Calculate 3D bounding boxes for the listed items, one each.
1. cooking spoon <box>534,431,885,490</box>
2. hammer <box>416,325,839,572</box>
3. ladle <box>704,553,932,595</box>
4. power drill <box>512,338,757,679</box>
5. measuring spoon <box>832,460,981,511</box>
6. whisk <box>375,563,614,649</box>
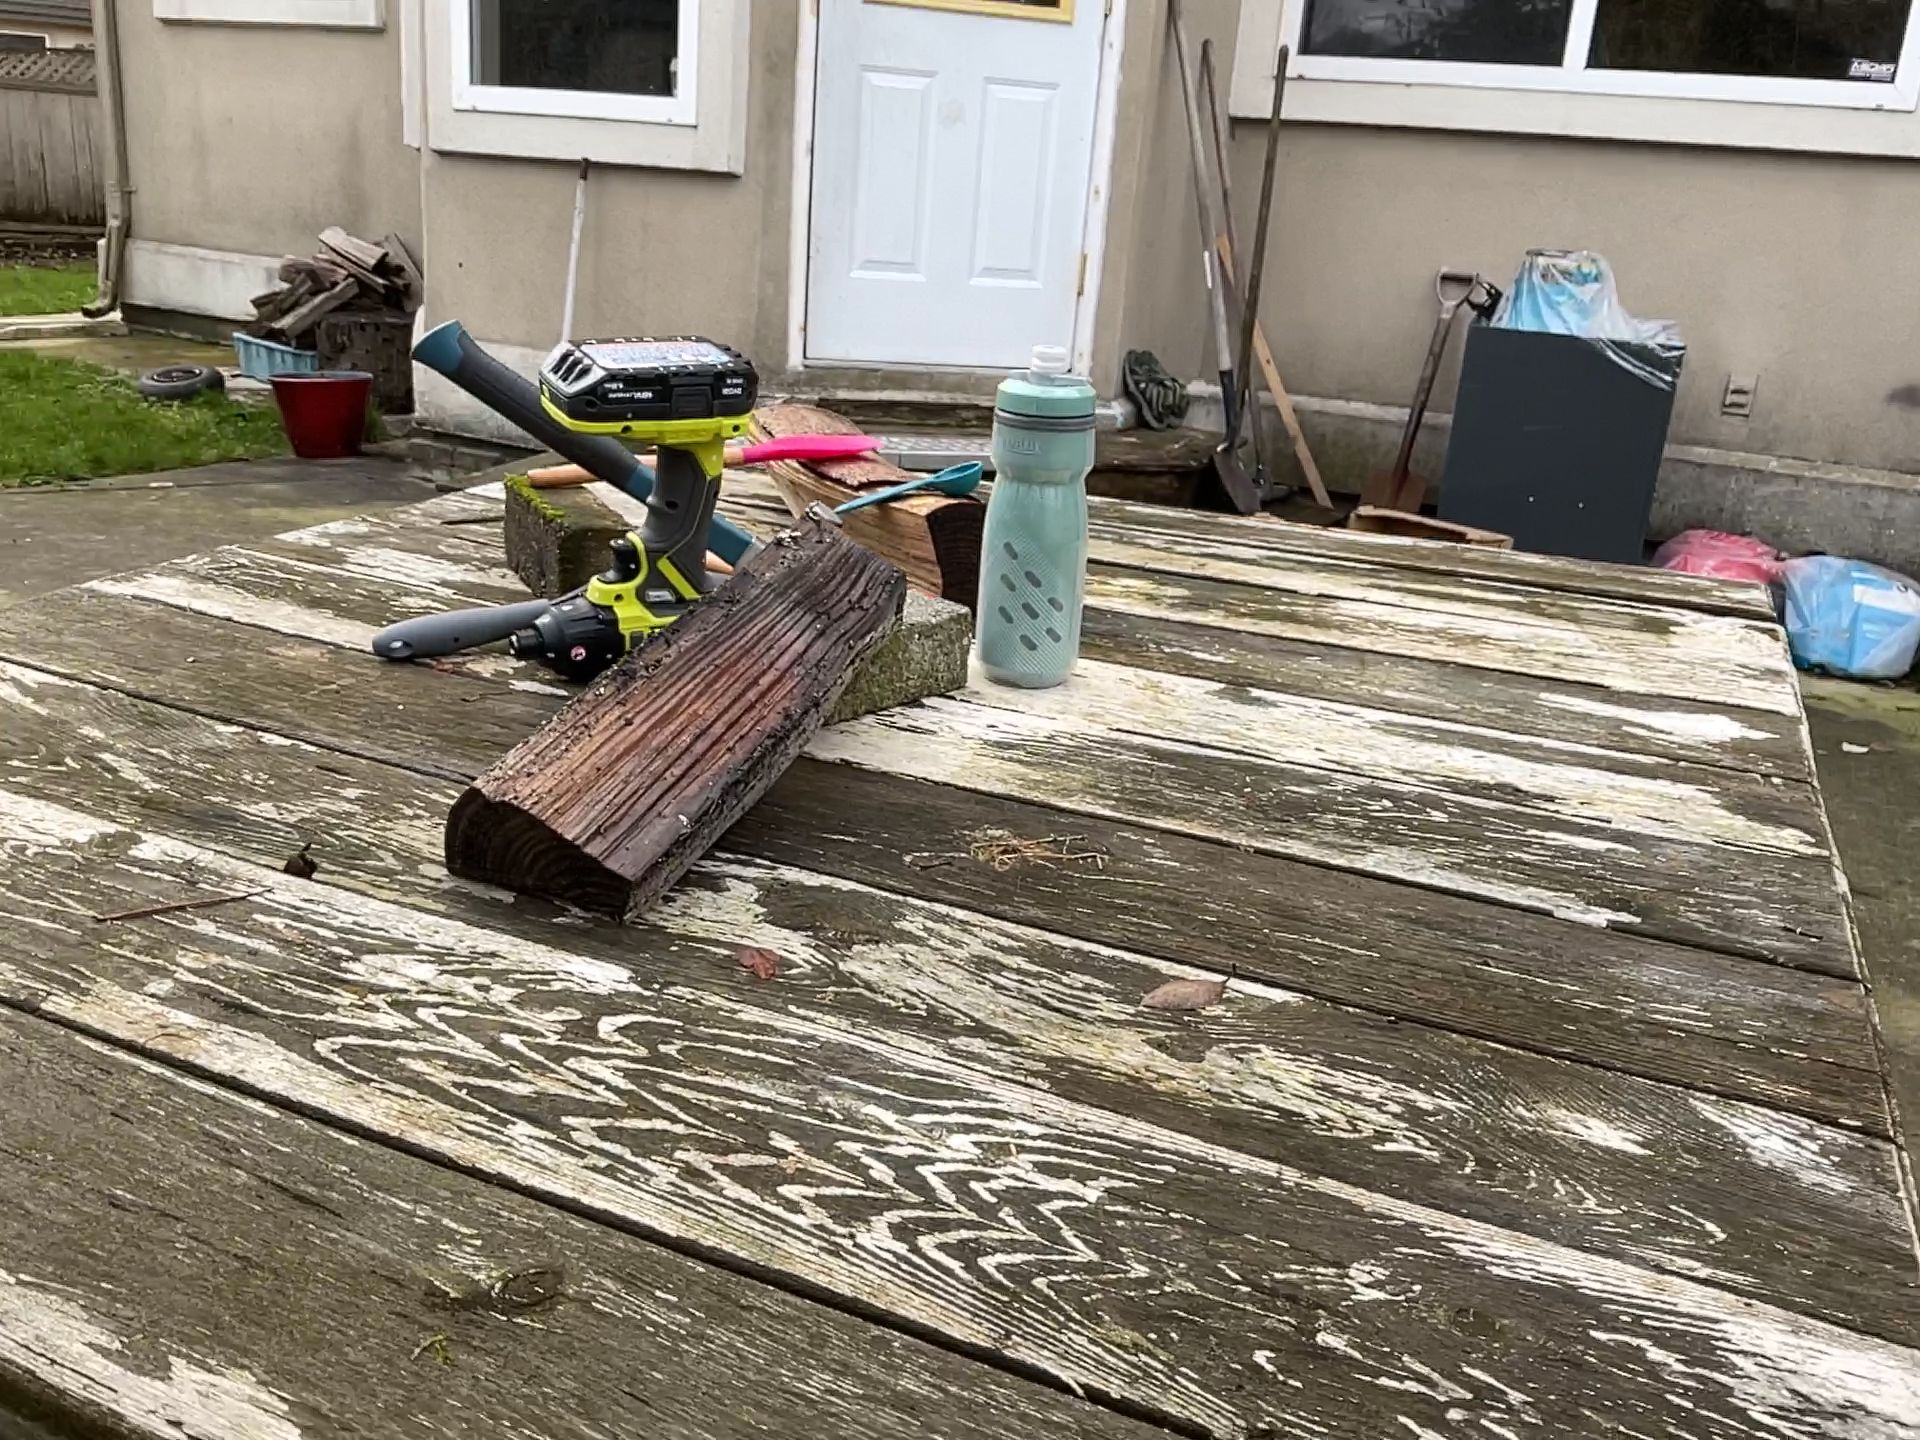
[{"bbox_3d":[-0.210,-0.226,1.374,0.318,0.017,0.069,-13,26,-29],"label":"cooking spoon"},{"bbox_3d":[-0.263,-0.195,1.226,0.330,0.128,0.033,34,14,-10],"label":"hammer"},{"bbox_3d":[-0.149,-0.115,1.317,0.316,0.031,0.069,16,25,37],"label":"ladle"},{"bbox_3d":[-0.216,-0.135,1.071,0.171,0.223,0.080,-11,32,-32],"label":"power drill"},{"bbox_3d":[-0.042,-0.183,1.297,0.128,0.021,0.042,-16,18,11],"label":"measuring spoon"},{"bbox_3d":[-0.301,-0.083,1.152,0.238,0.055,0.055,-13,18,-32],"label":"whisk"}]
